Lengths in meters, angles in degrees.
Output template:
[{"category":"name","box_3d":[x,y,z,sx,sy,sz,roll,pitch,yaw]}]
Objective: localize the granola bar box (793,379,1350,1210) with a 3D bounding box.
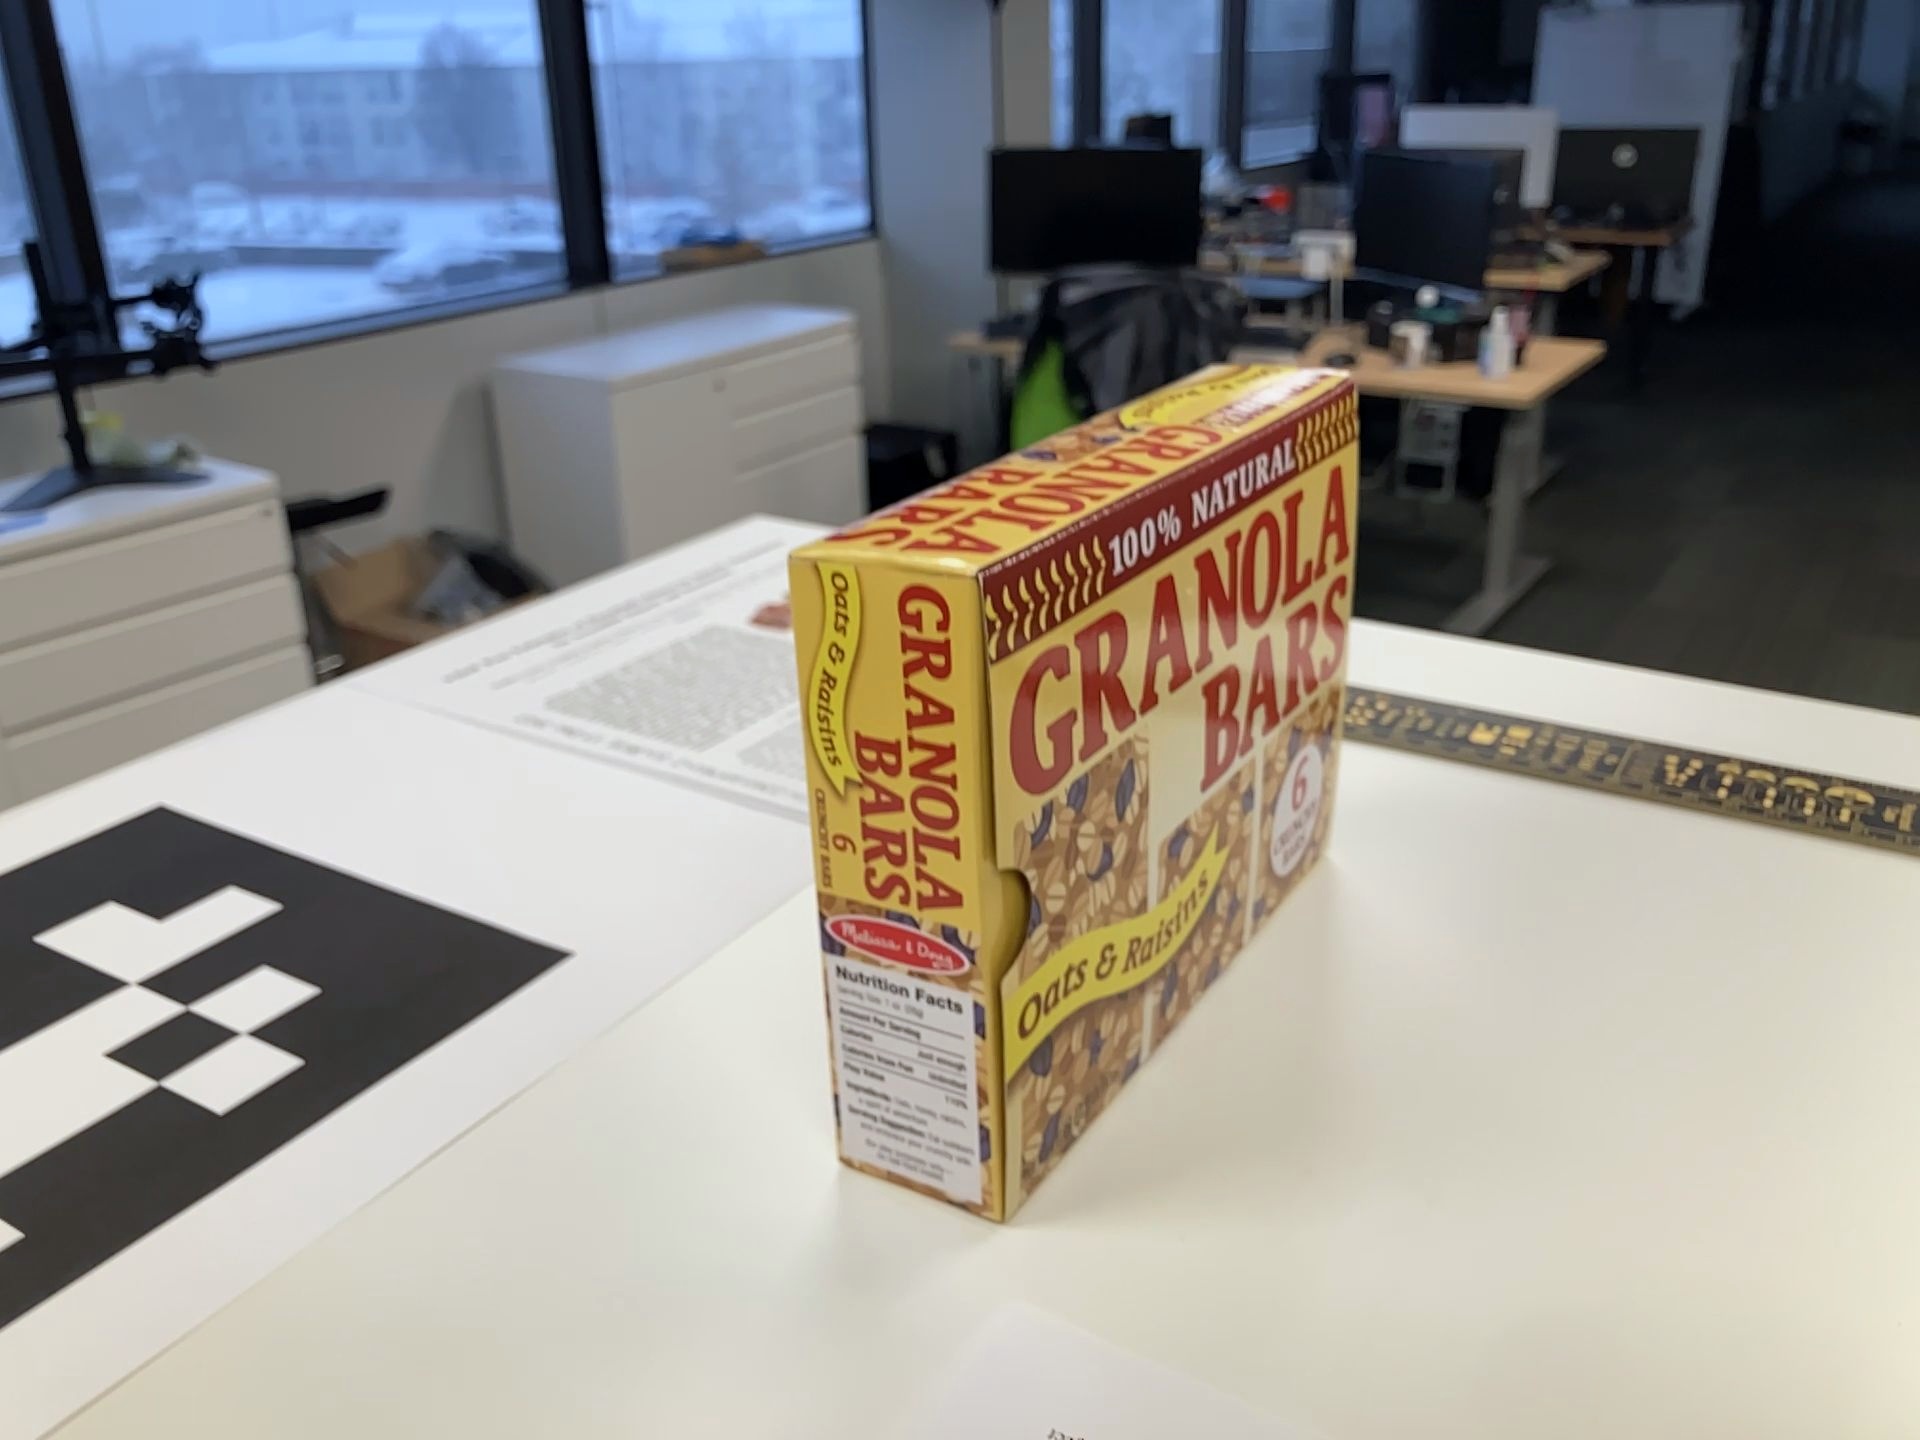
[{"category":"granola bar box","box_3d":[0.035,0.003,0.339,0.039,0.124,0.165,11,25,31]}]
